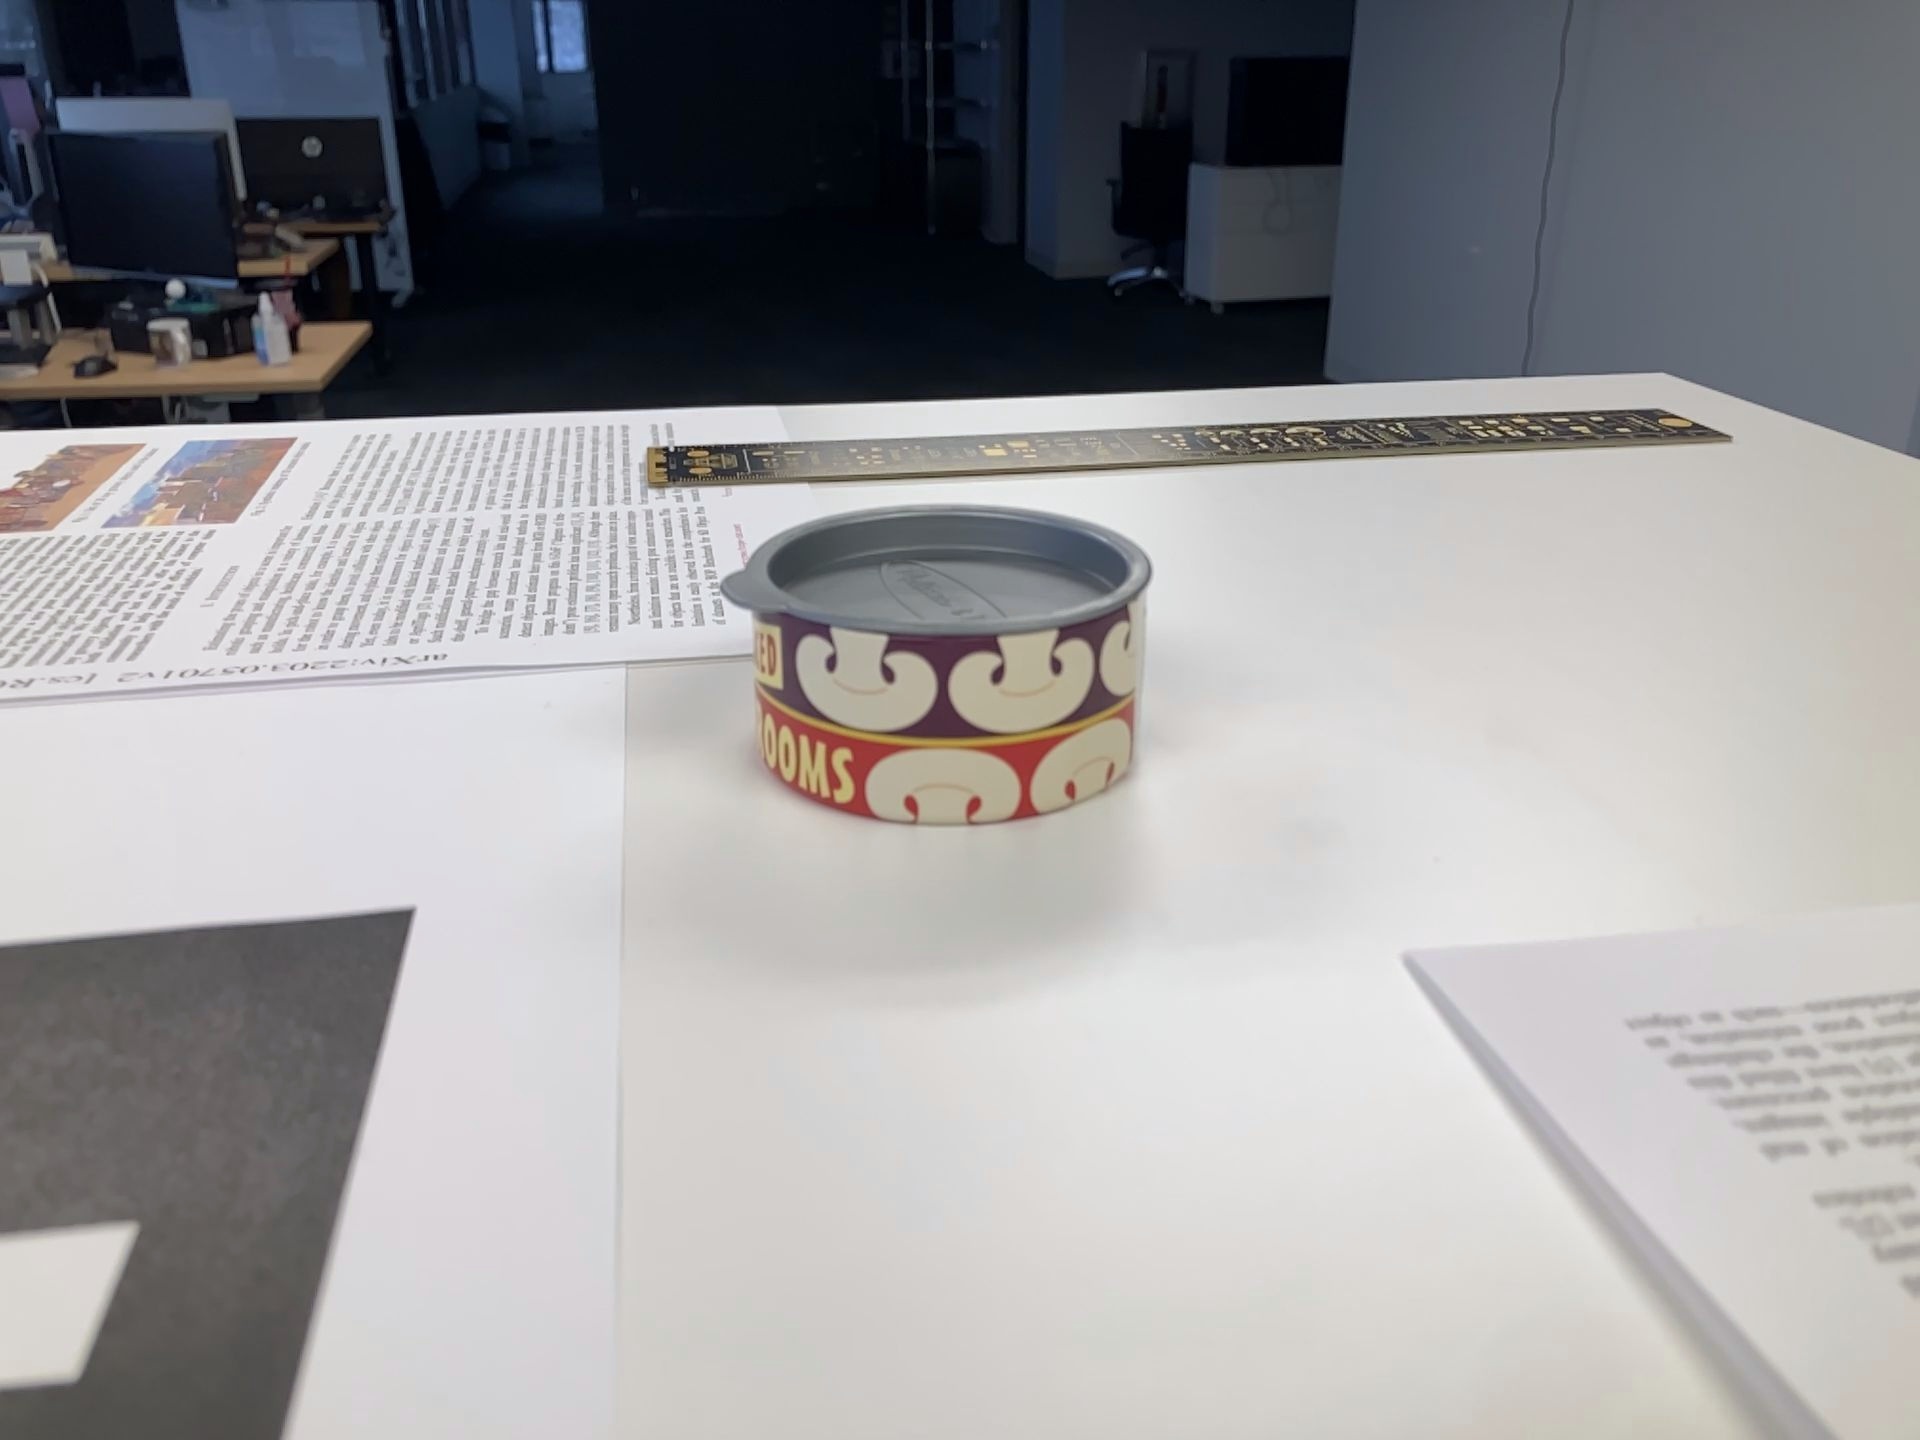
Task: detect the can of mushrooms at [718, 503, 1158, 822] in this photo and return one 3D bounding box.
[{"bbox_3d":[-0.004,-0.012,0.261,0.071,0.033,0.071,0,24,0],"label":"can of mushrooms"}]
